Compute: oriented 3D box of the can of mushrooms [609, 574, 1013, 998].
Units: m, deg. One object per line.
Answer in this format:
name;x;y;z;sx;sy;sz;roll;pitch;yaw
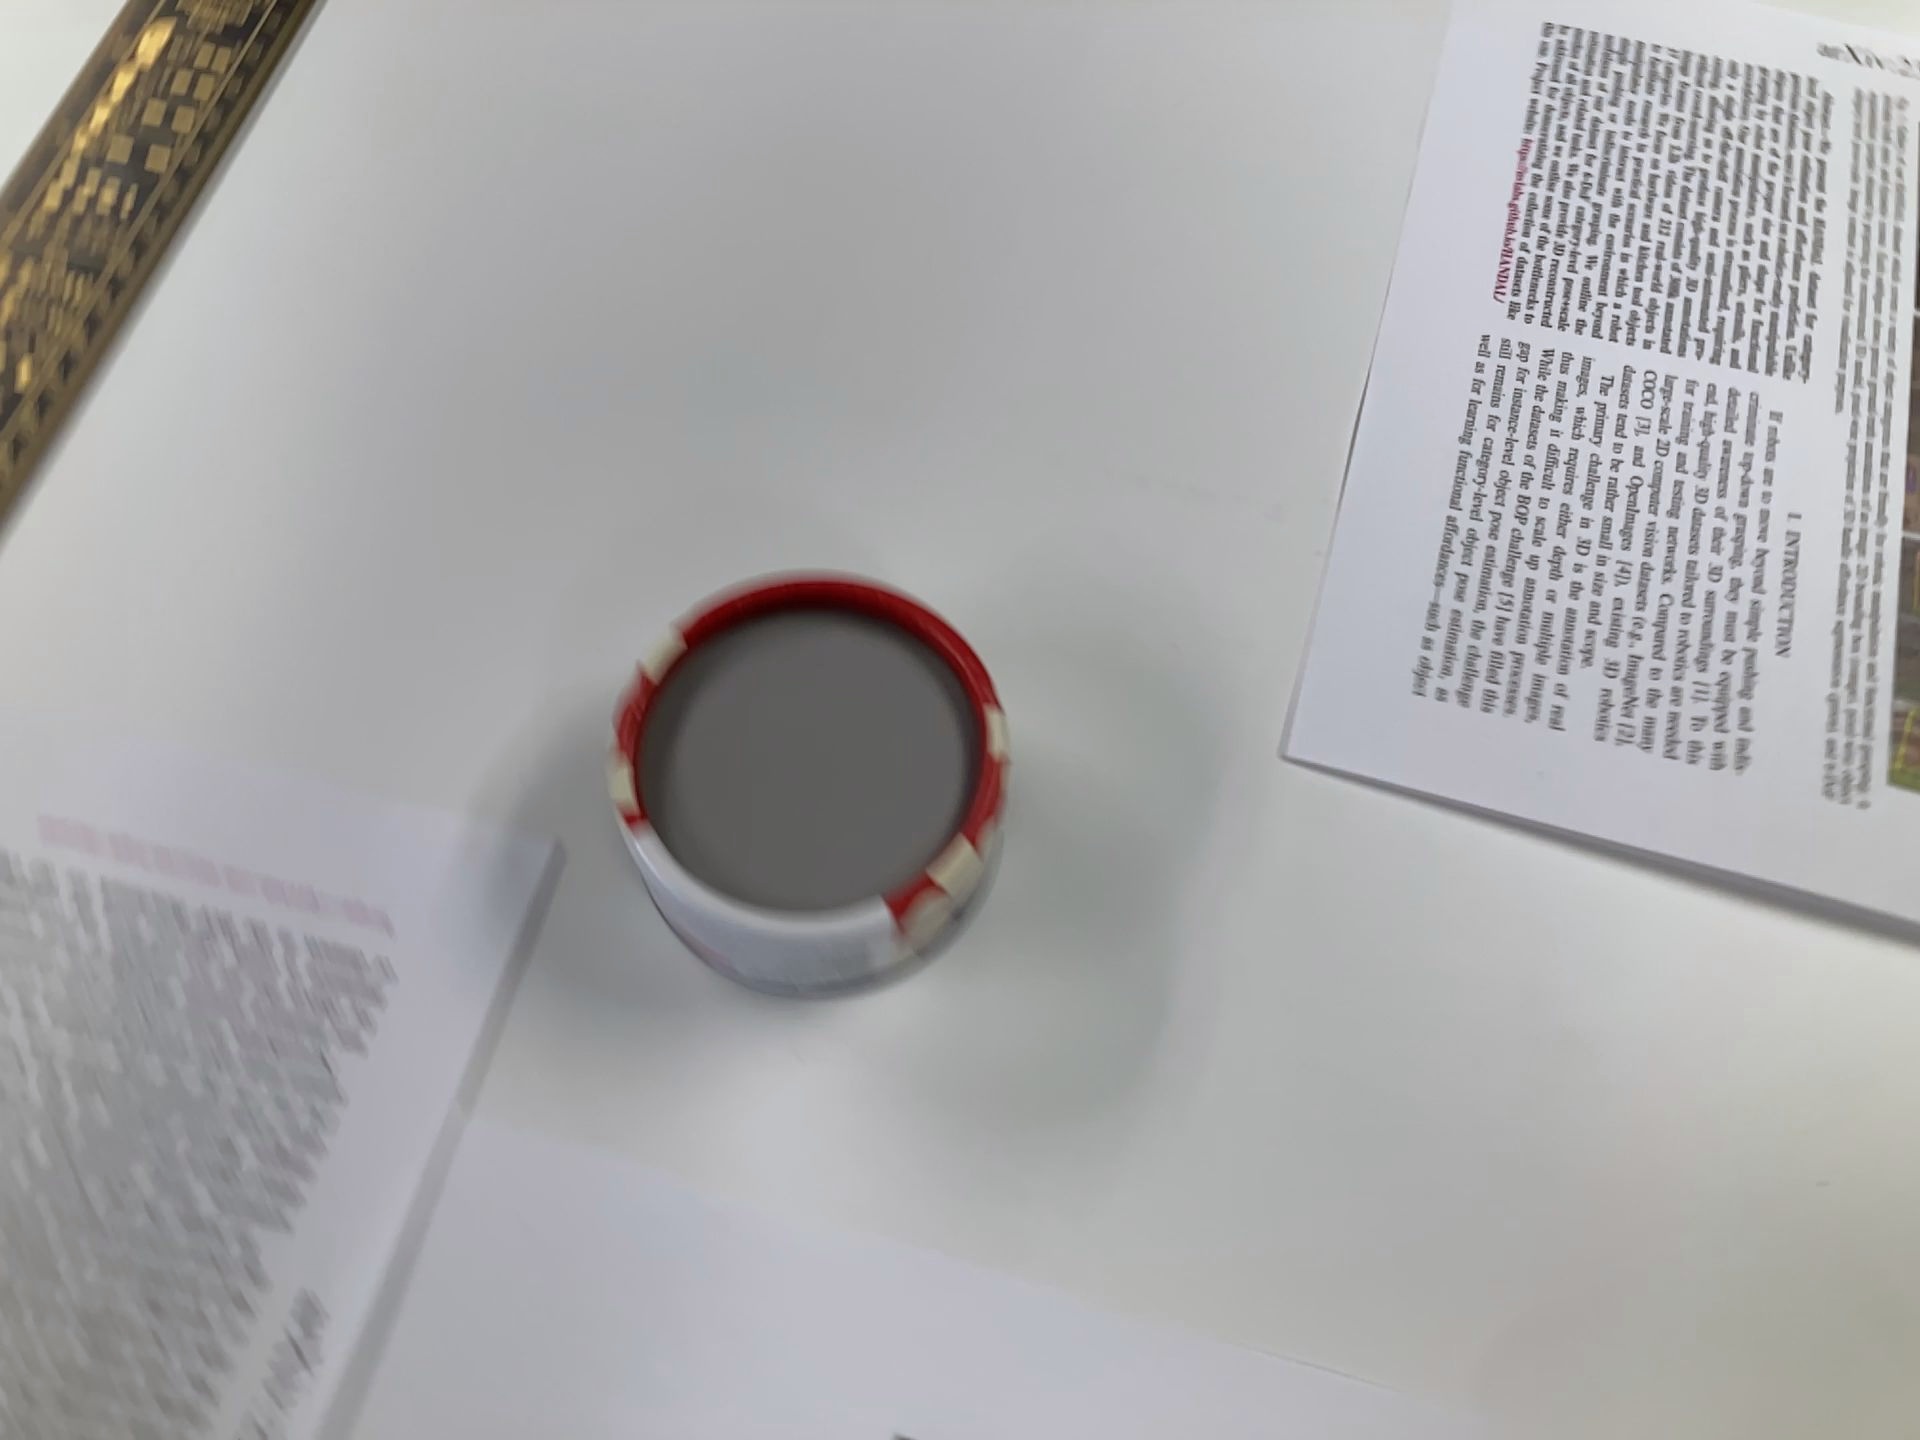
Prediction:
can of mushrooms;-0.024;0.009;0.271;0.071;0.033;0.071;1;66;-1
